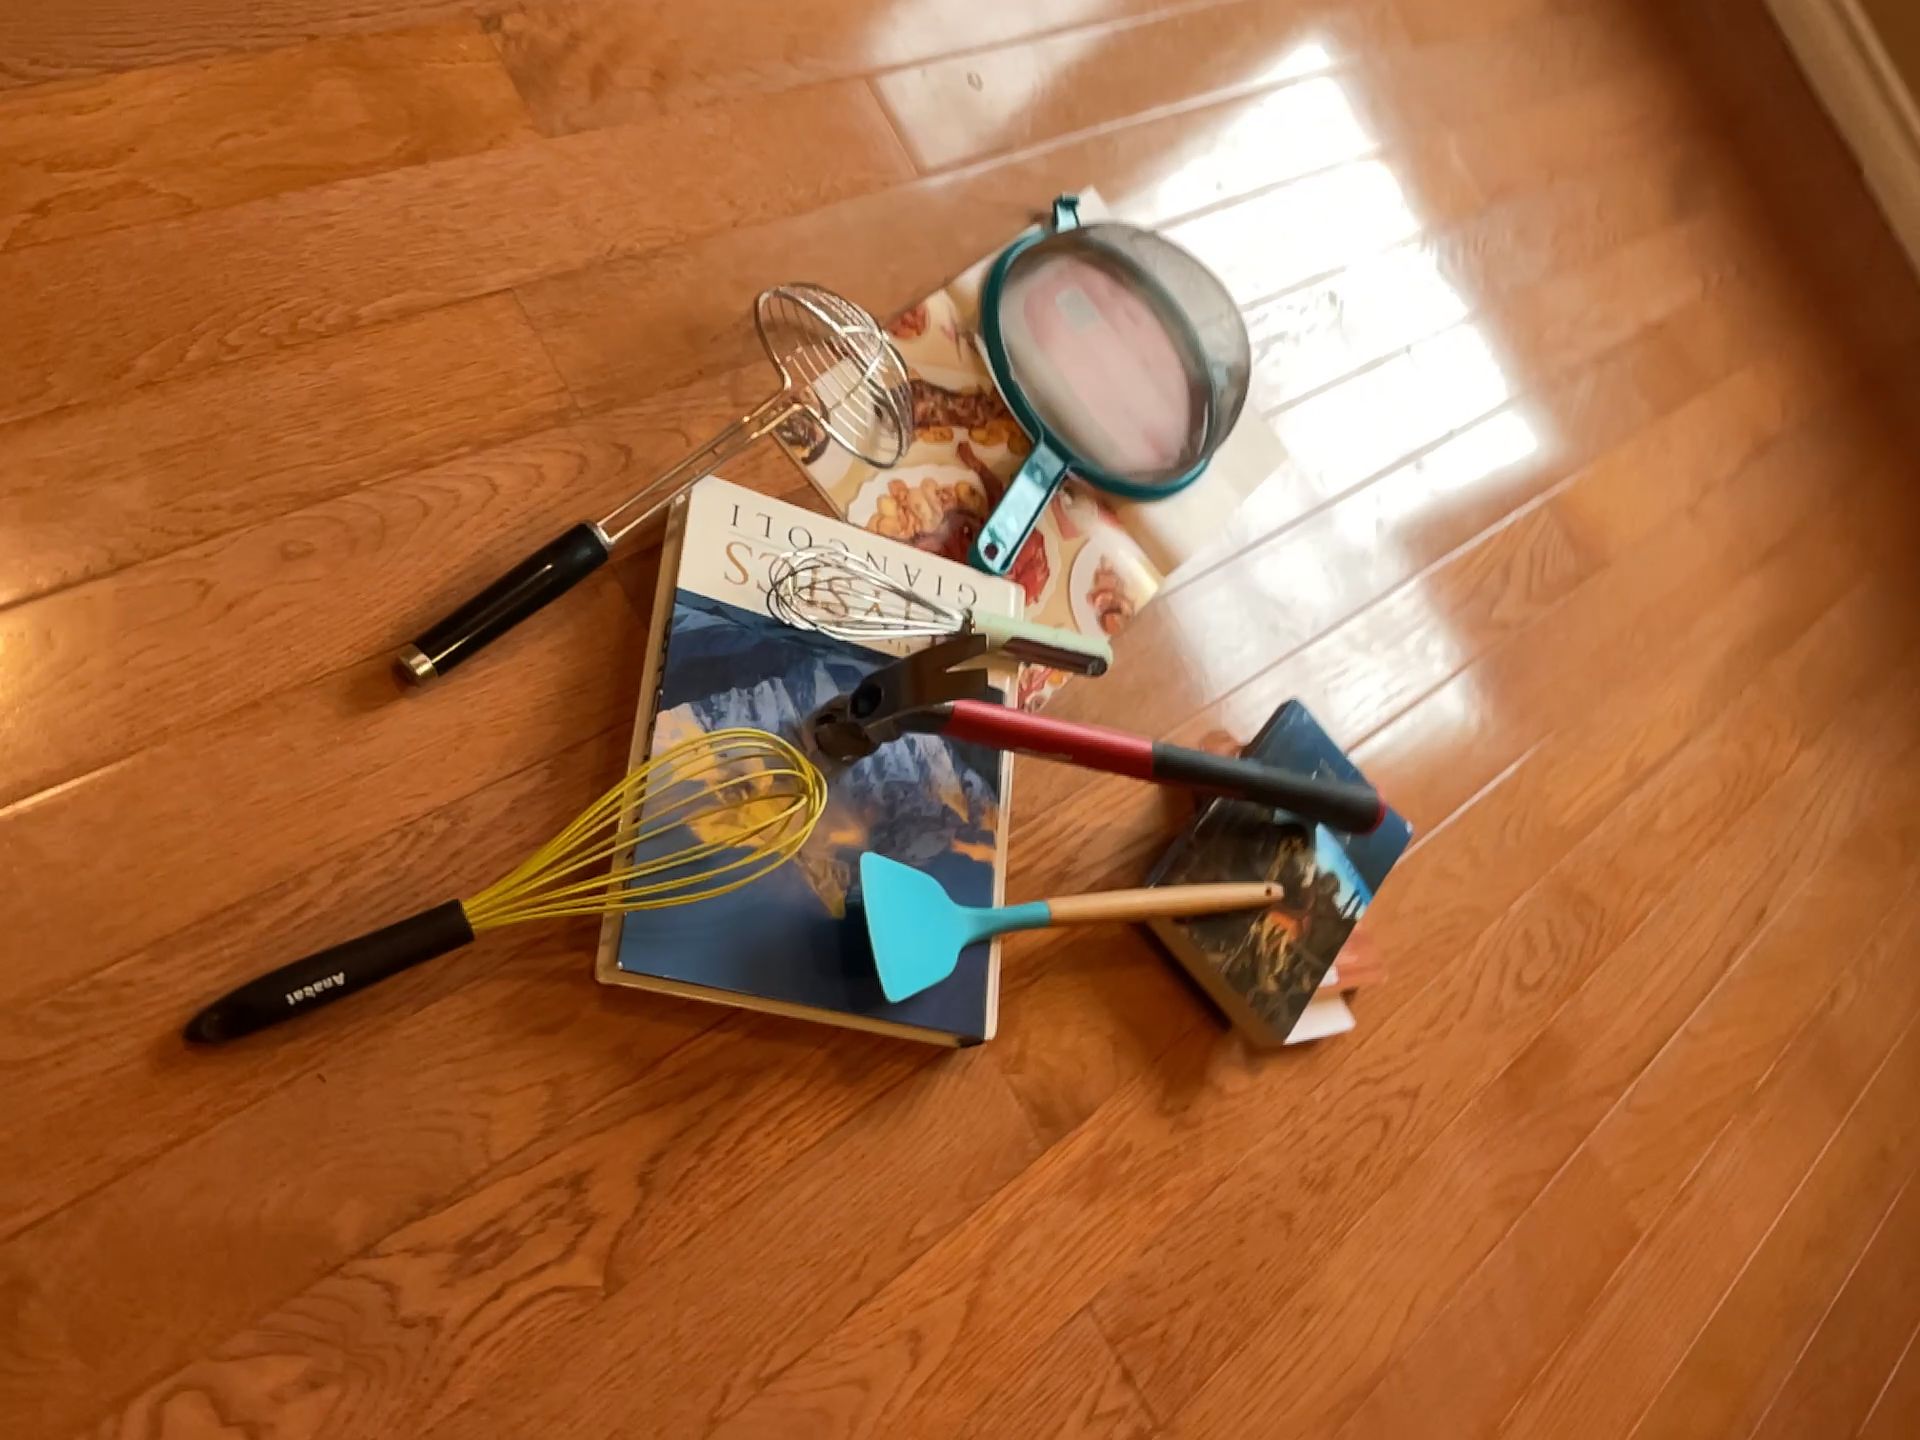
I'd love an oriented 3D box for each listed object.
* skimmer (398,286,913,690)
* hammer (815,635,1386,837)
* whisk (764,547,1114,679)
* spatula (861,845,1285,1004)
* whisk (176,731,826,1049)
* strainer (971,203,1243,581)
[{"bbox_3d":[-0.163,-0.126,0.896,0.364,0.090,0.127,-42,100,-26],"label":"skimmer"},{"bbox_3d":[0.118,0.020,0.922,0.386,0.143,0.038,12,70,-33],"label":"hammer"},{"bbox_3d":[-0.006,-0.054,0.921,0.246,0.057,0.059,11,36,-35],"label":"whisk"},{"bbox_3d":[0.075,0.108,0.910,0.317,0.044,0.082,-1,71,-34],"label":"spatula"},{"bbox_3d":[-0.207,0.083,0.750,0.312,0.067,0.080,-23,101,-23],"label":"whisk"},{"bbox_3d":[0.100,-0.218,1.051,0.211,0.095,0.341,42,48,-14],"label":"strainer"}]
